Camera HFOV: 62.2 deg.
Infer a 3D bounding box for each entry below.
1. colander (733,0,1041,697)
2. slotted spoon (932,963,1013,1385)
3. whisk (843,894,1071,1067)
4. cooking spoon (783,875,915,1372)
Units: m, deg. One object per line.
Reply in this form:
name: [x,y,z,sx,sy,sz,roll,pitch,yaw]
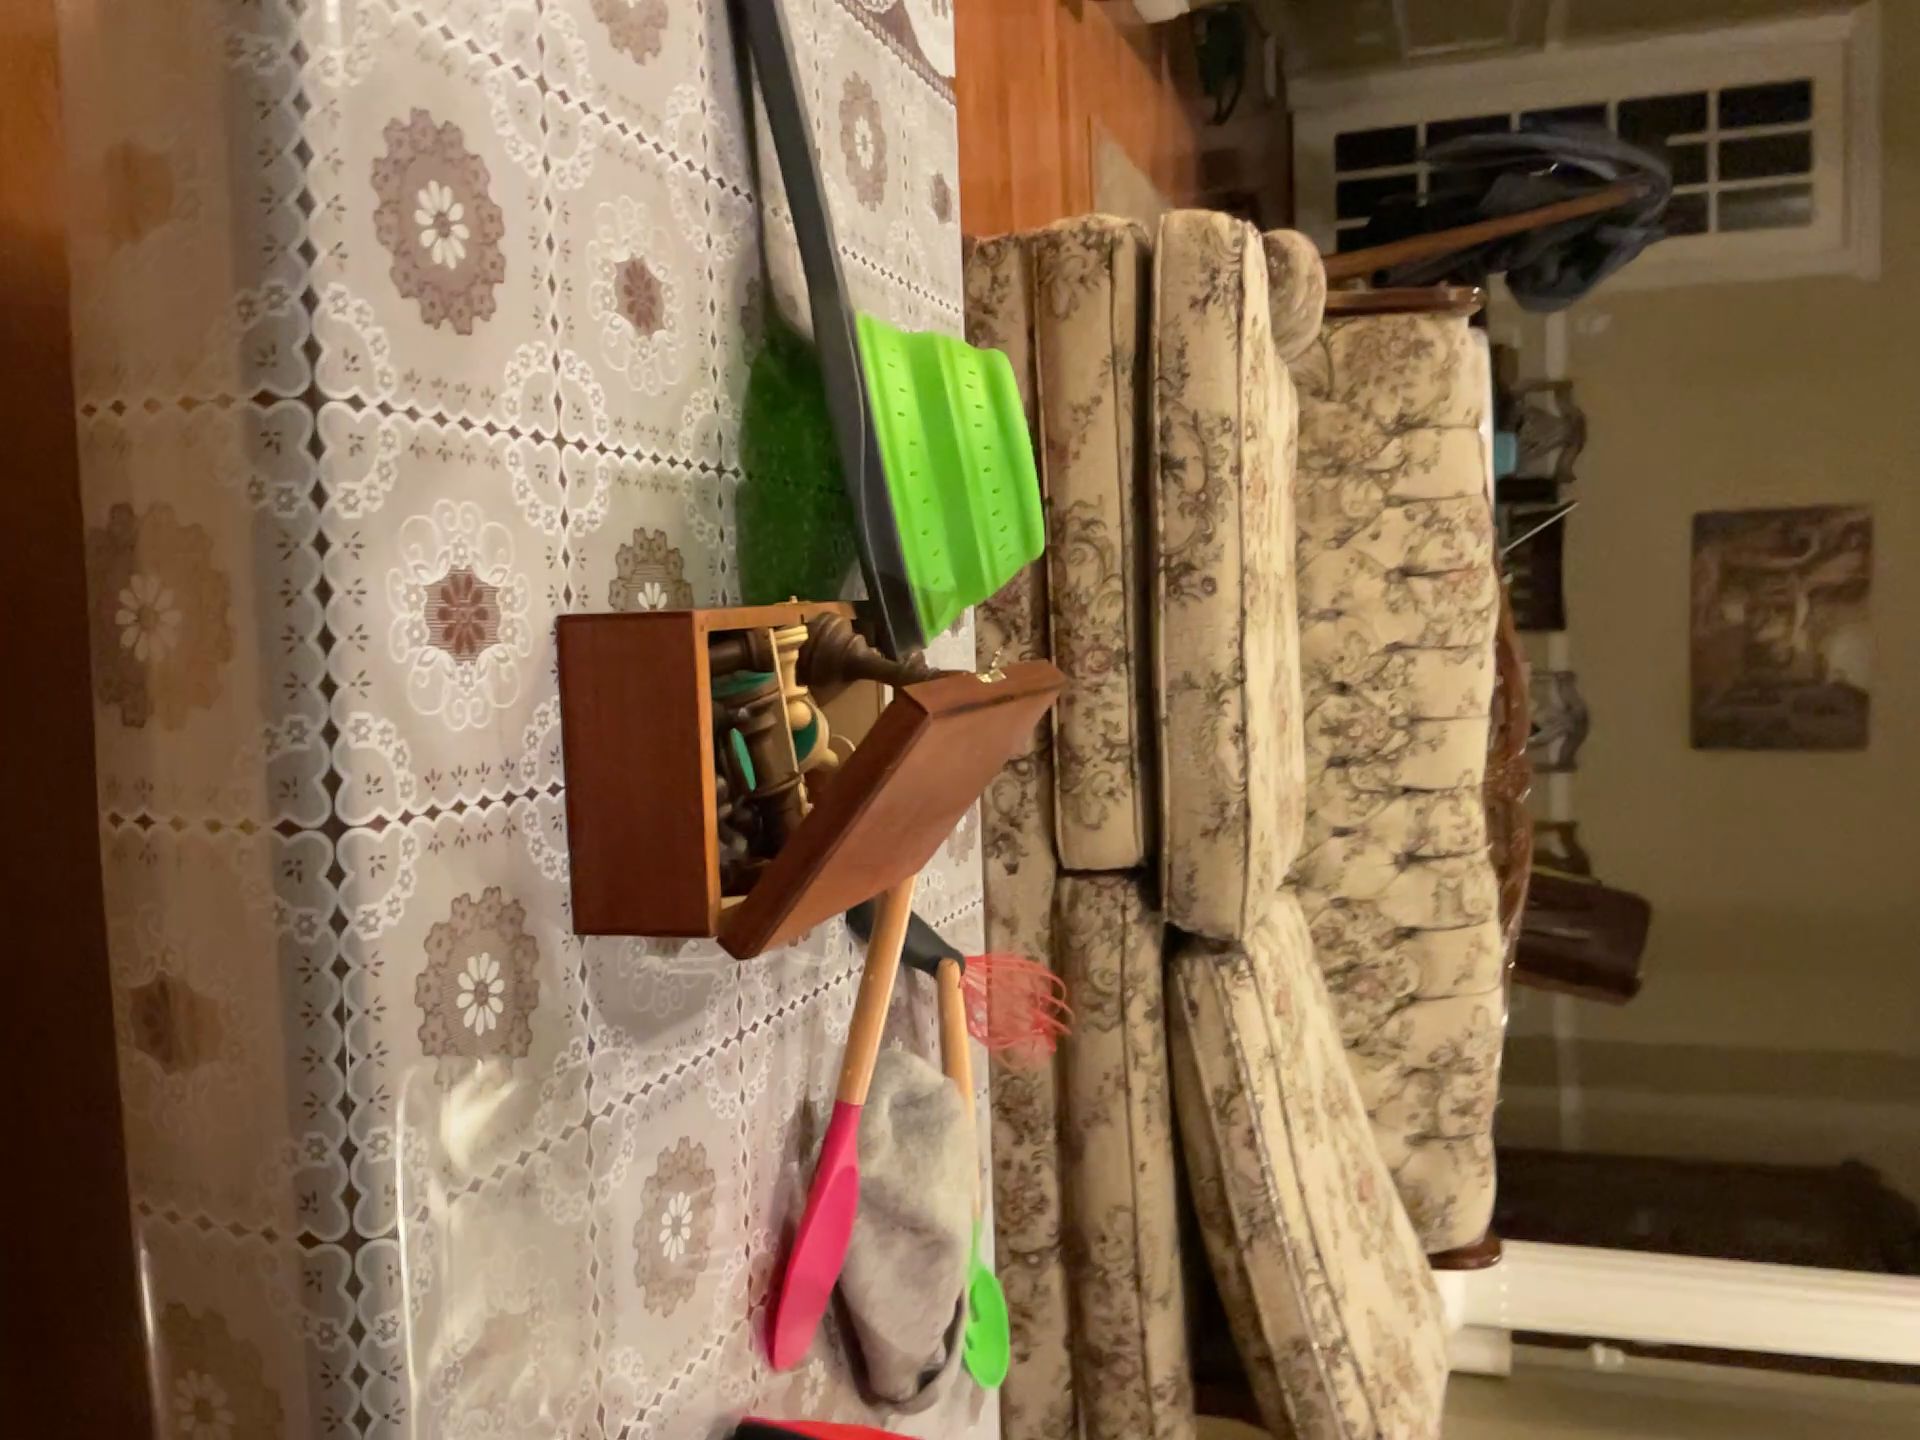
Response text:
colander: [-0.030,-0.206,0.796,0.204,0.094,0.397,-96,174,-78]
slotted spoon: [0.004,0.291,1.010,0.070,0.031,0.313,-53,141,-61]
whisk: [0.001,0.161,1.003,0.295,0.073,0.073,44,54,-55]
cooking spoon: [-0.051,0.172,0.817,0.068,0.017,0.319,23,78,-71]
